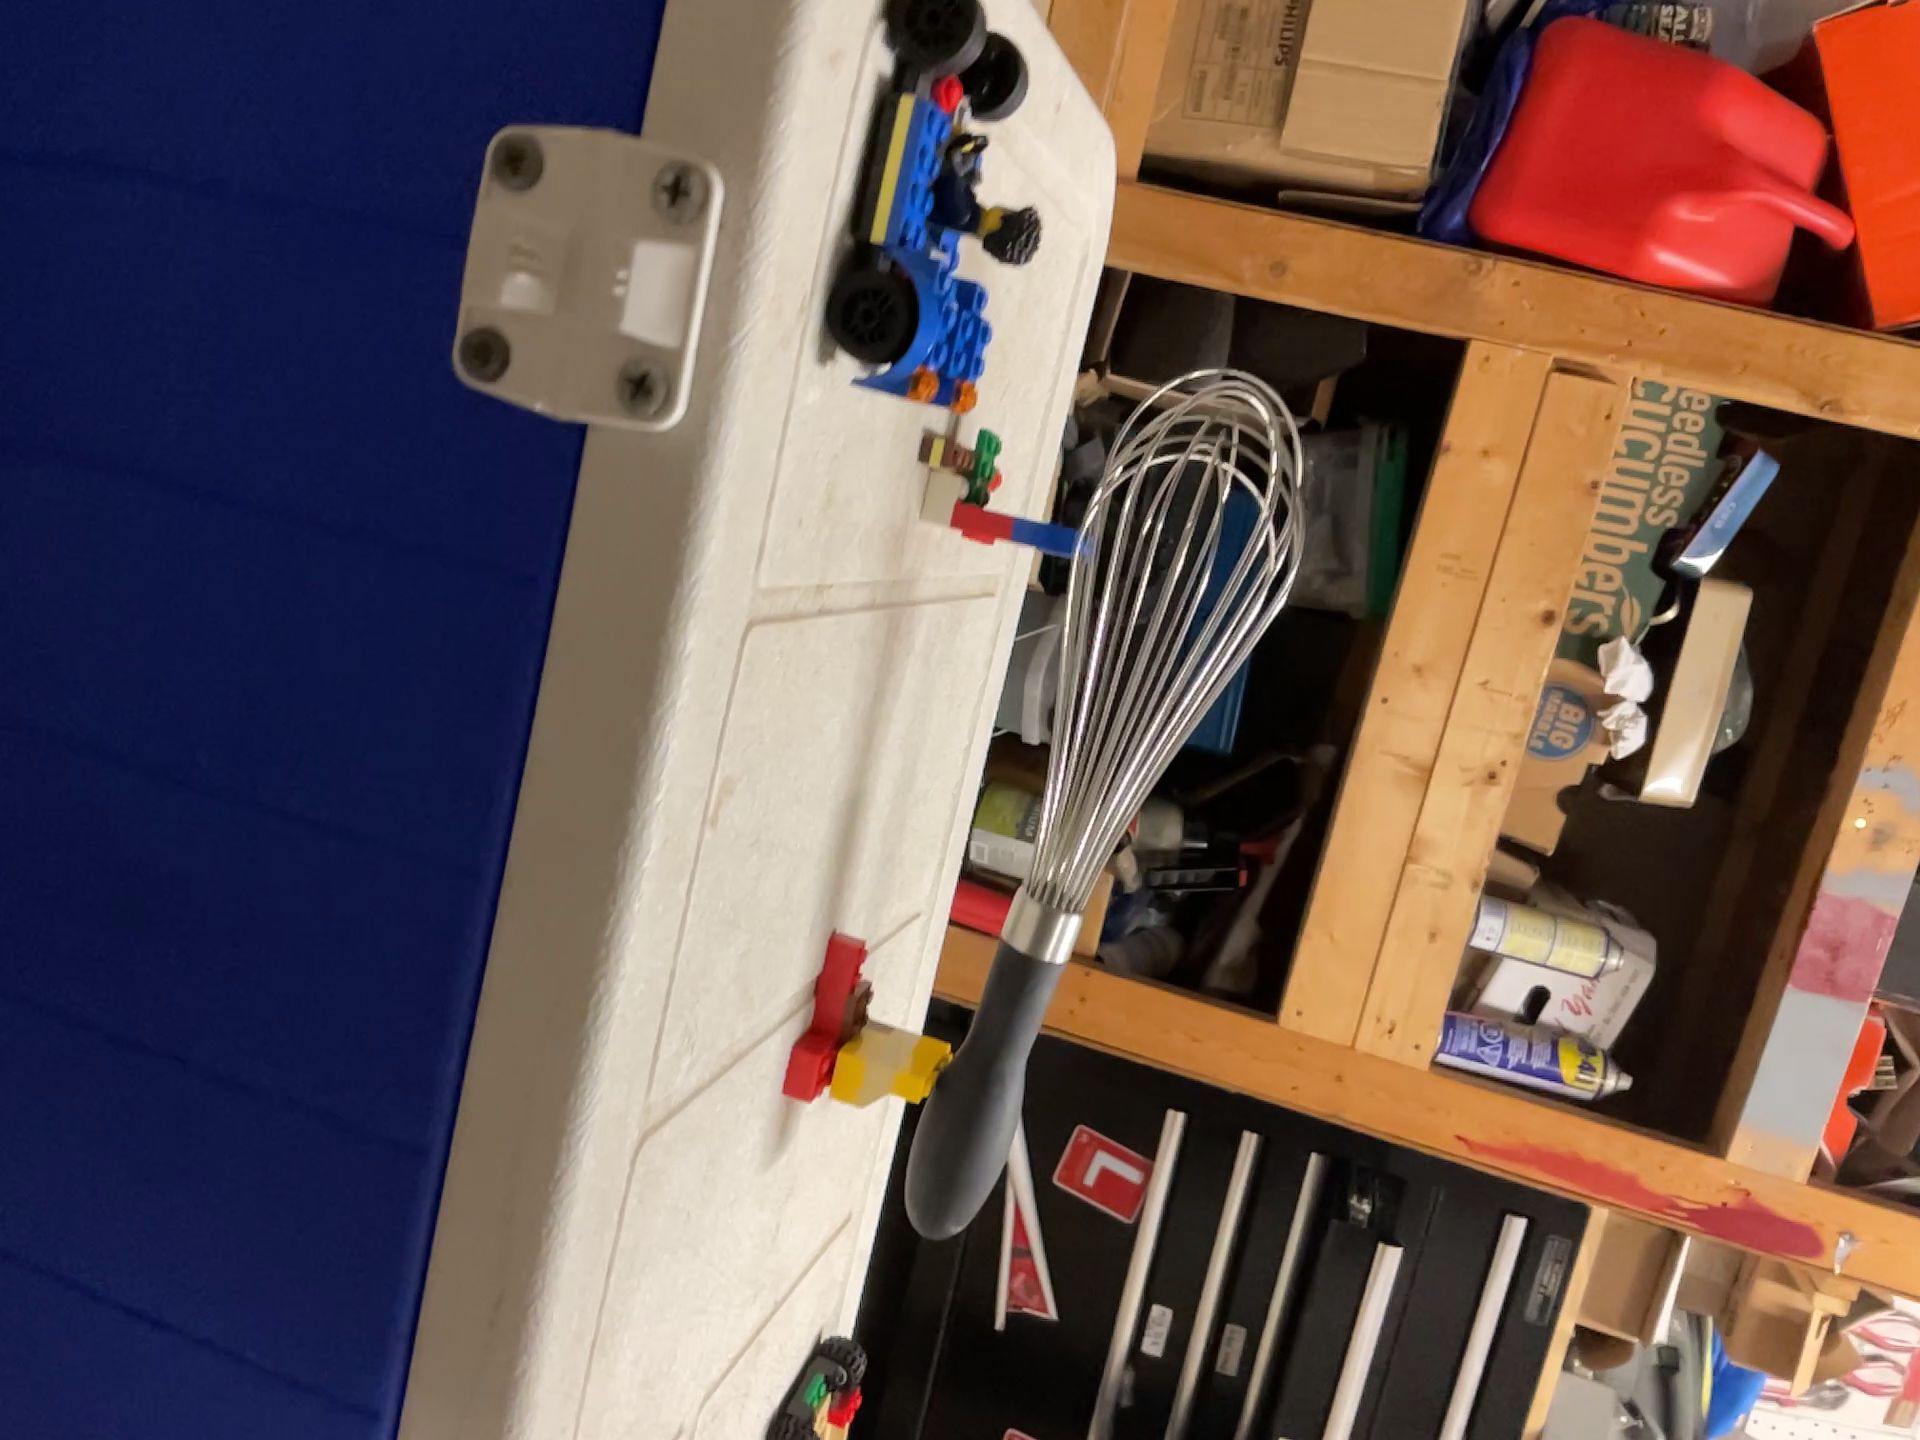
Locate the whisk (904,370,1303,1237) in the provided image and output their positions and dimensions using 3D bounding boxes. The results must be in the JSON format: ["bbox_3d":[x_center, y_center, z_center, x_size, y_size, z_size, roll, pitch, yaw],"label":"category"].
[{"bbox_3d":[0.037,0.033,0.488,0.070,0.070,0.284,-41,151,-77],"label":"whisk"}]
